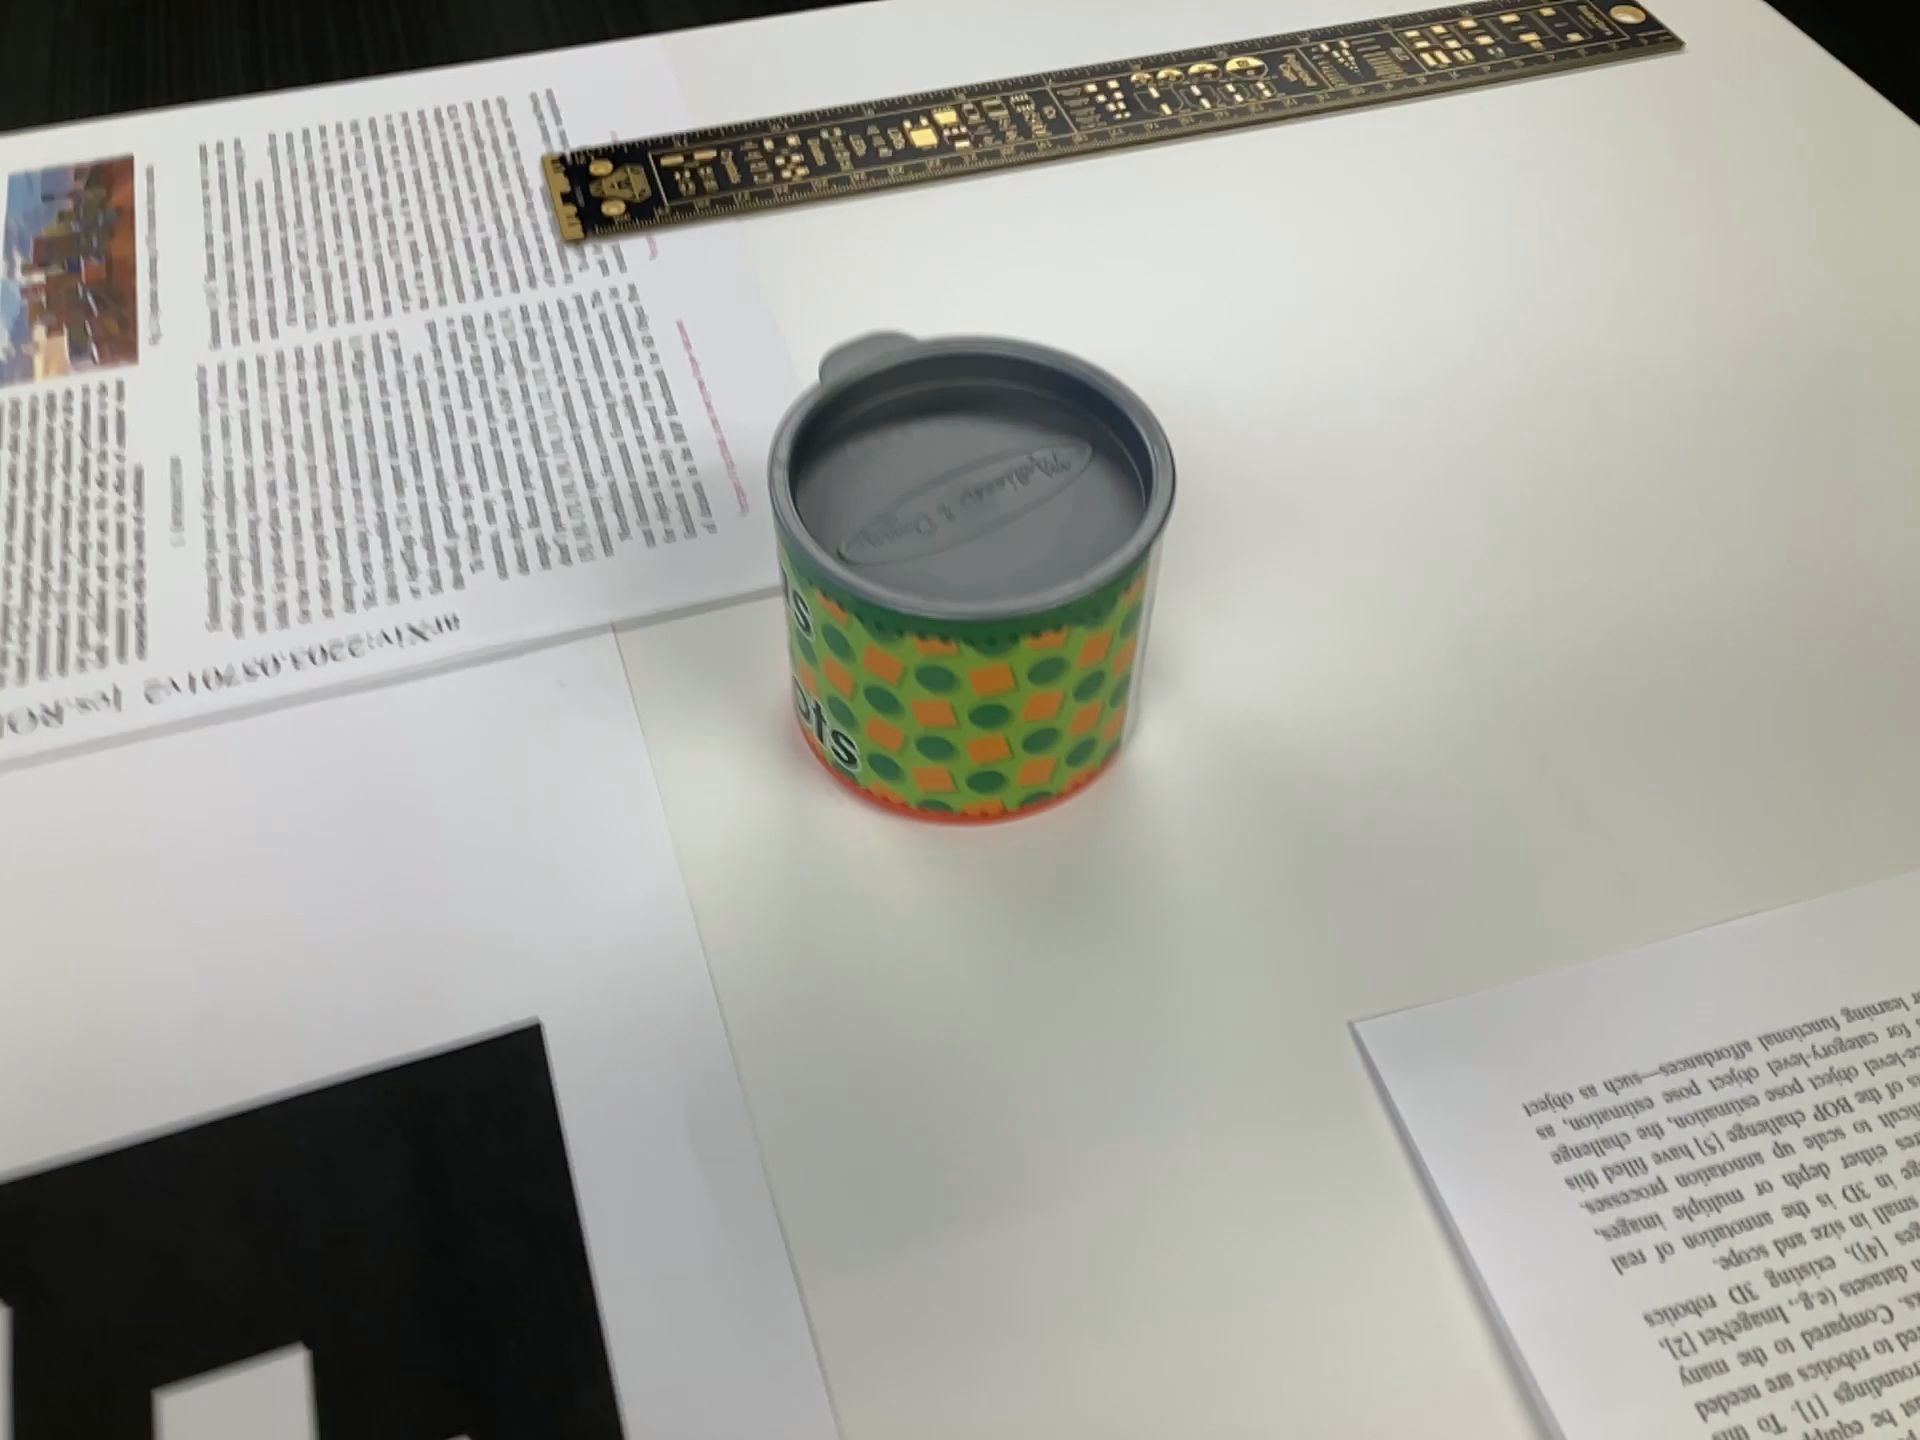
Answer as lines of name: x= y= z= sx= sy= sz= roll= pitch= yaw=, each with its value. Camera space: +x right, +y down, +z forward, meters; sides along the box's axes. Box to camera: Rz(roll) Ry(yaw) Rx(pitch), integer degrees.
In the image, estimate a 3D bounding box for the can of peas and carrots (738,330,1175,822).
can of peas and carrots: x=-0.001 y=-0.024 z=0.279 sx=0.071 sy=0.059 sz=0.071 roll=0 pitch=52 yaw=-1
